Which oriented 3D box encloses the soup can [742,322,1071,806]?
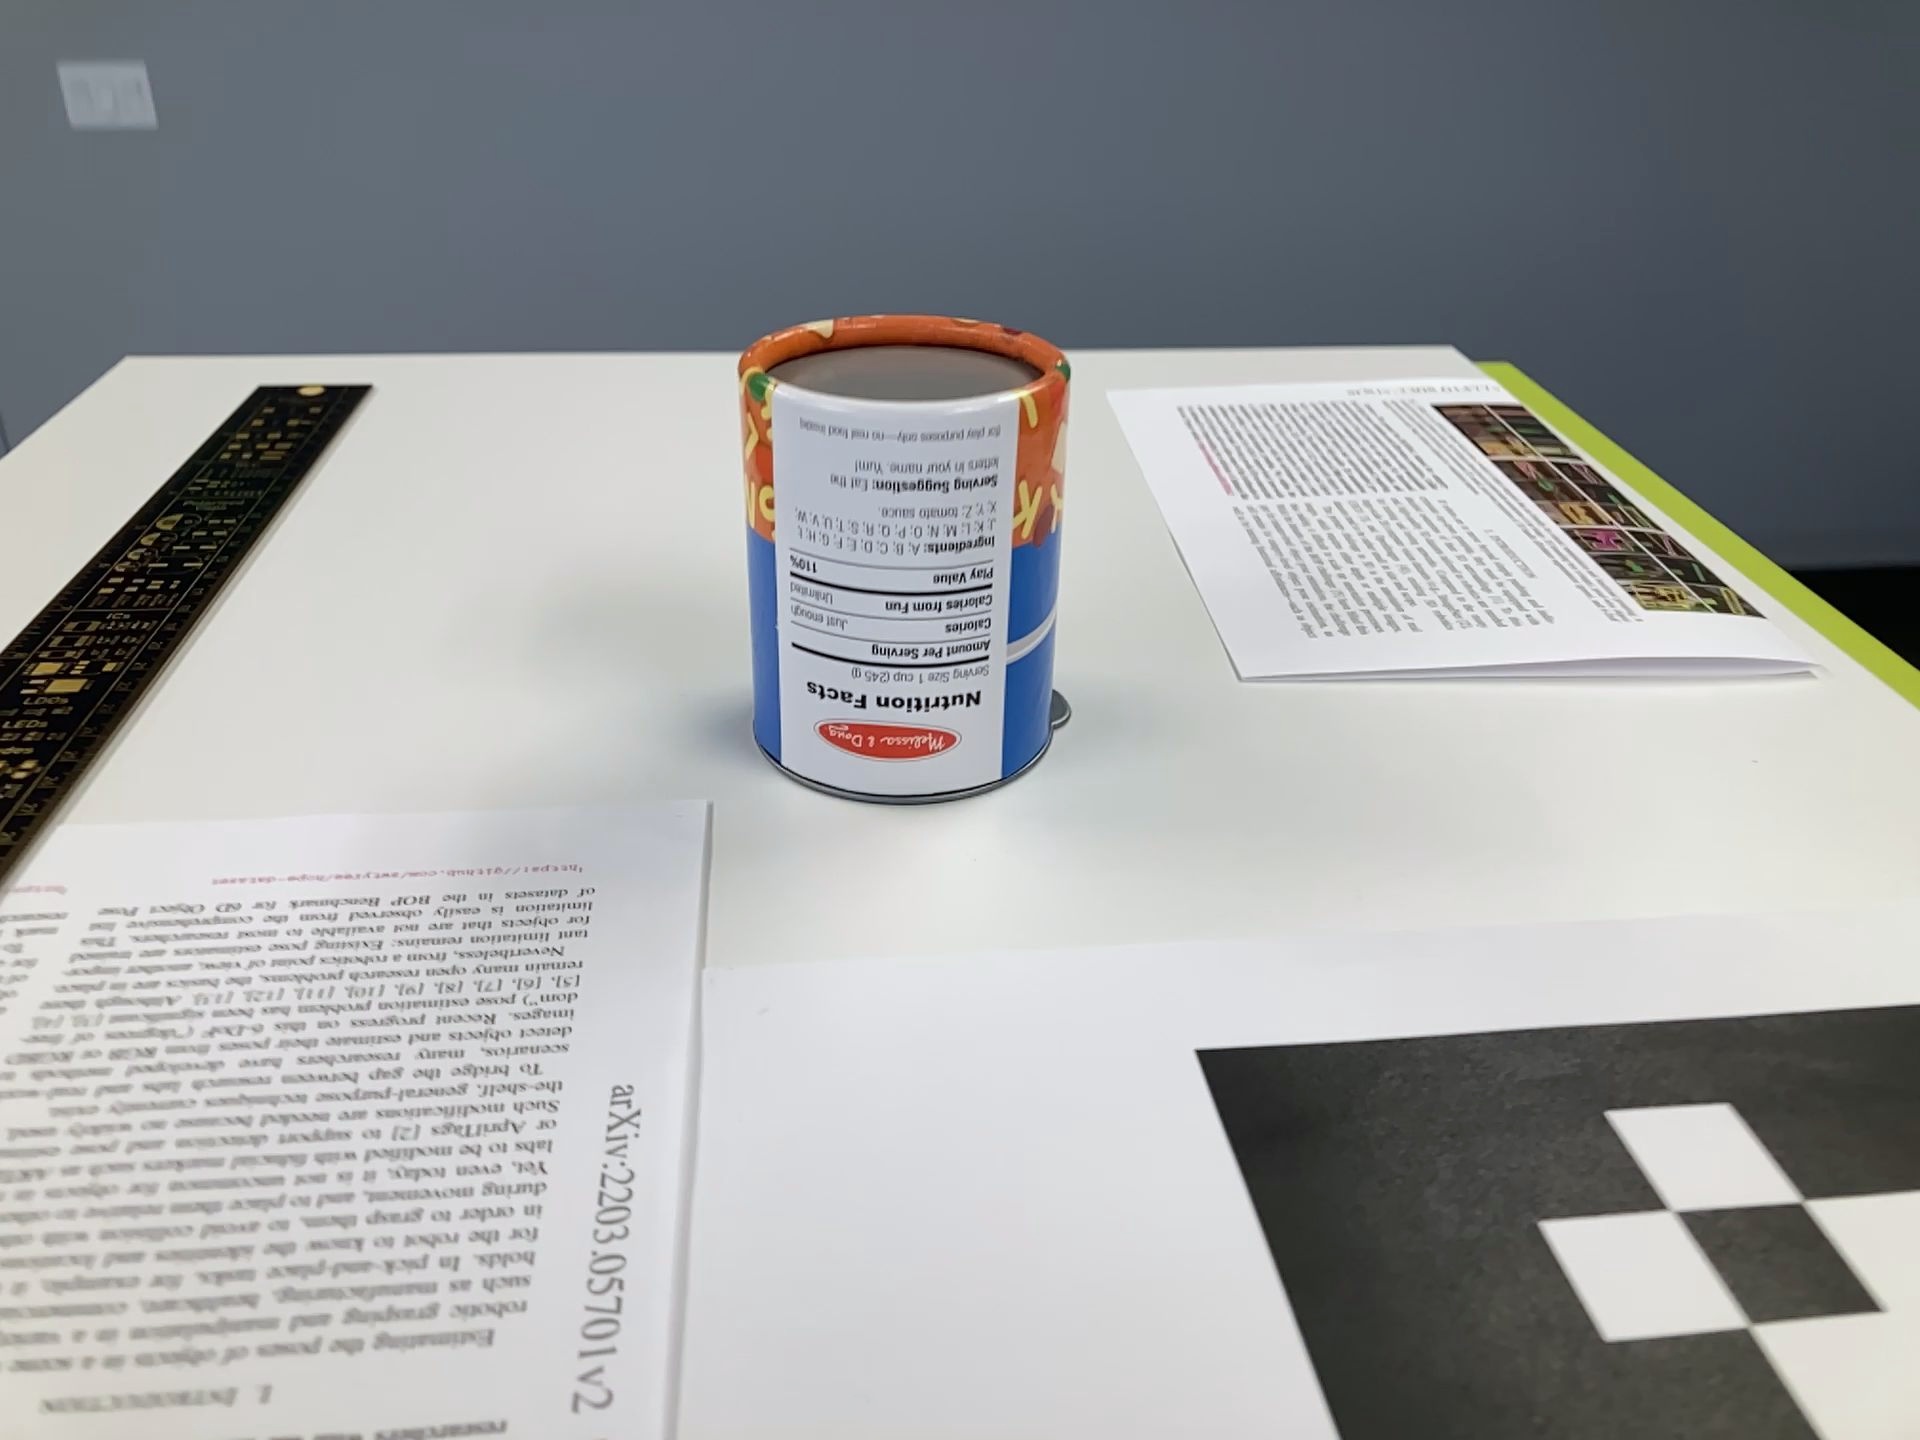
[{"bbox_3d":[-0.012,-0.036,0.337,0.071,0.084,0.071,2,28,-1],"label":"soup can"}]
